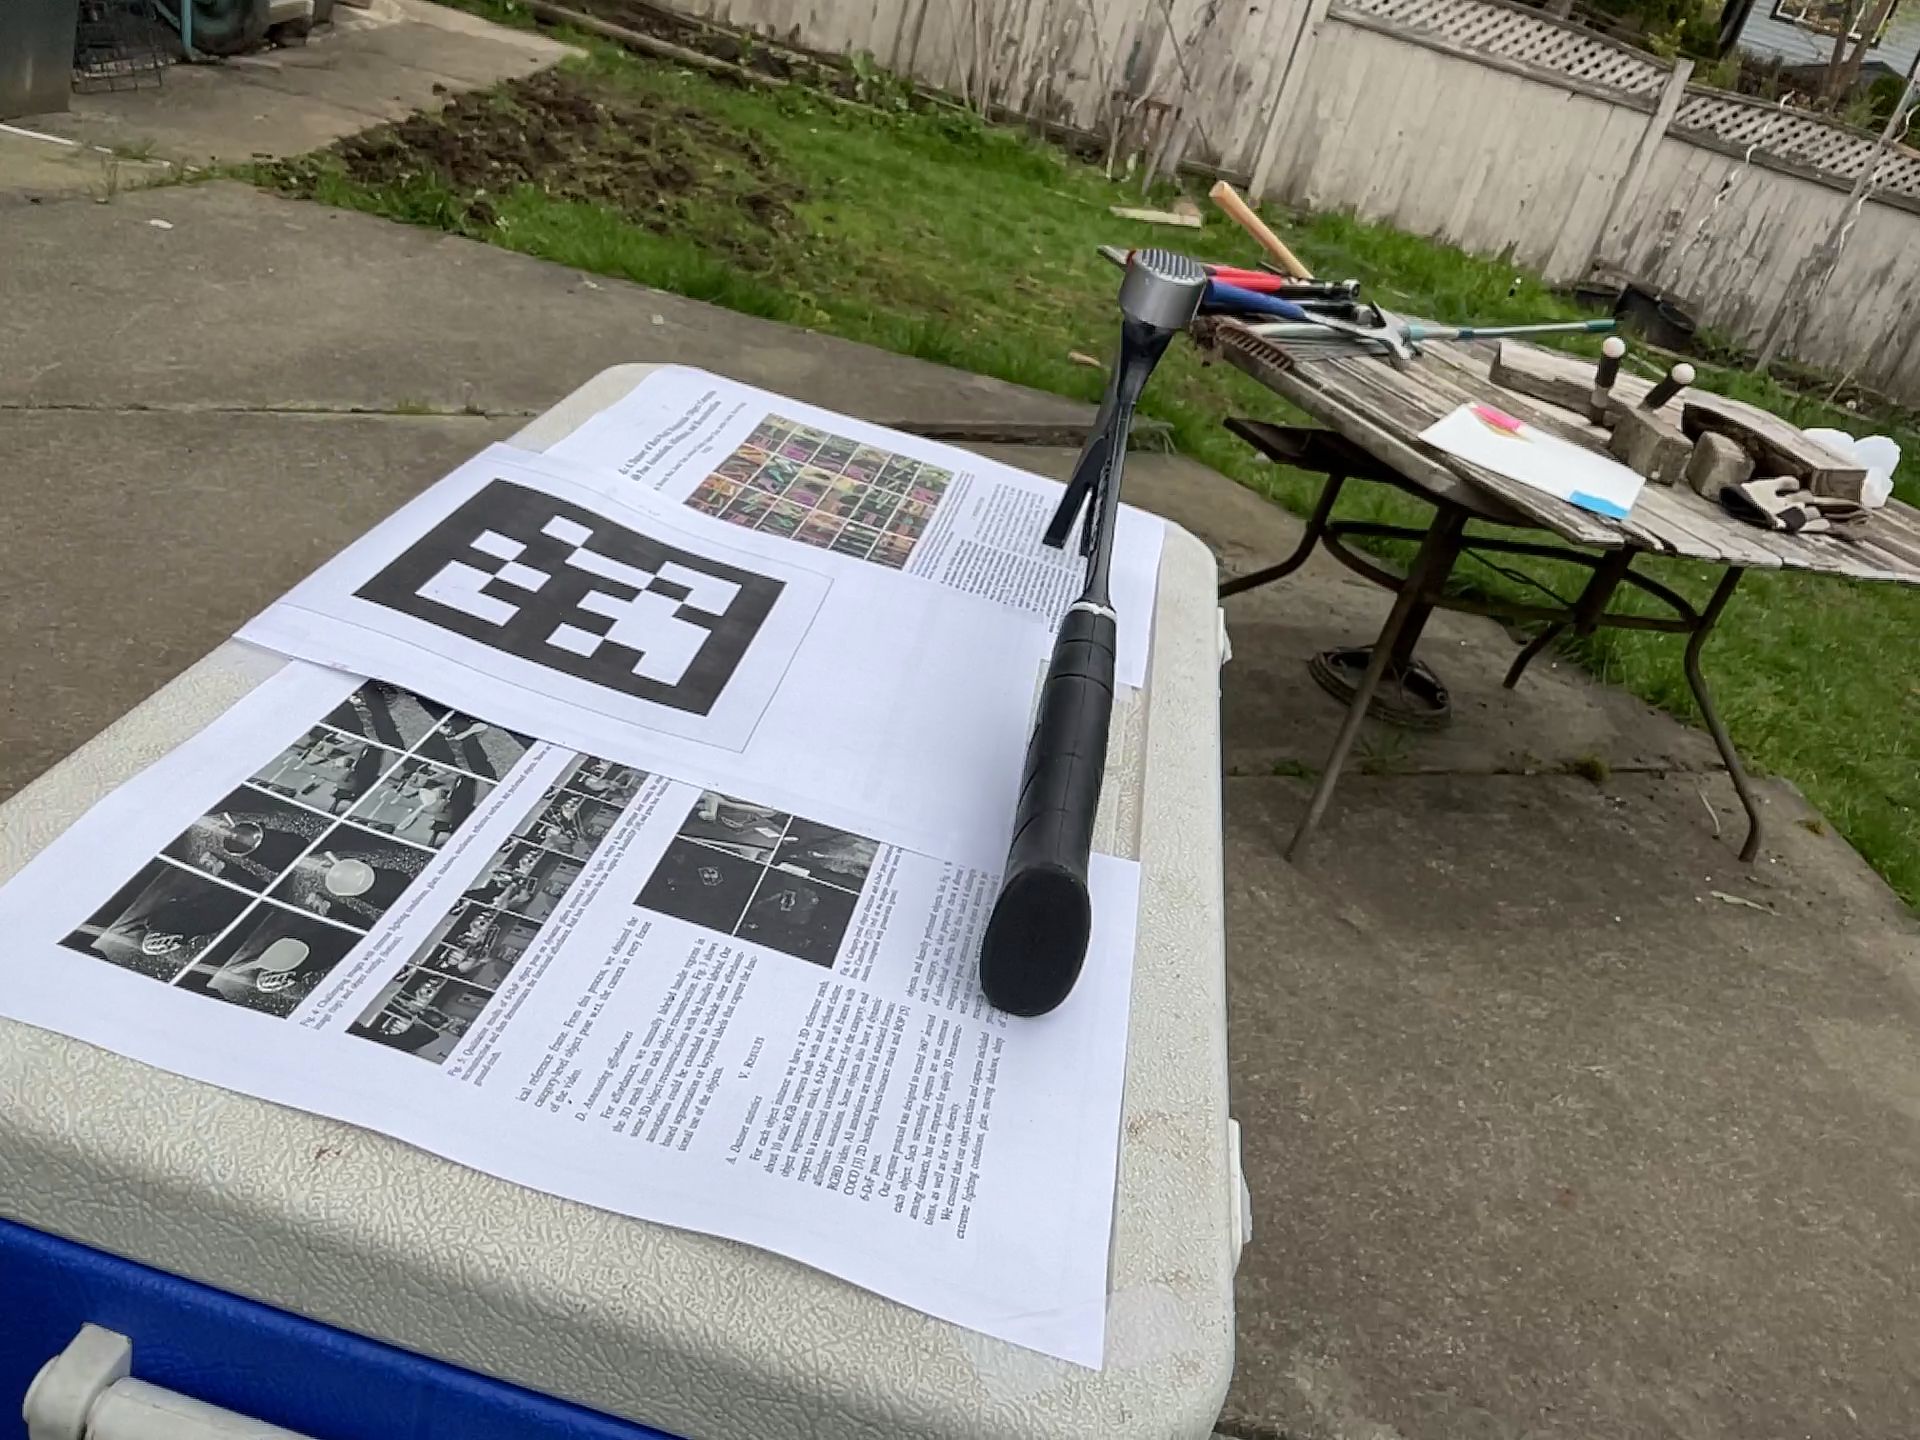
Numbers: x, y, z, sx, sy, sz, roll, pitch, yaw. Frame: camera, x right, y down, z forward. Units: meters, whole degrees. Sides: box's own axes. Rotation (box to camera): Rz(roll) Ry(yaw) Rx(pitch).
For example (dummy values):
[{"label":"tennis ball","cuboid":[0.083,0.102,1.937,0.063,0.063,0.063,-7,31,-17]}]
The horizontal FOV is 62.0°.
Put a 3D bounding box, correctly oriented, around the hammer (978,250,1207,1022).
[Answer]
[{"label":"hammer","cuboid":[0.048,-0.042,0.612,0.036,0.149,0.409,17,36,-2]}]
